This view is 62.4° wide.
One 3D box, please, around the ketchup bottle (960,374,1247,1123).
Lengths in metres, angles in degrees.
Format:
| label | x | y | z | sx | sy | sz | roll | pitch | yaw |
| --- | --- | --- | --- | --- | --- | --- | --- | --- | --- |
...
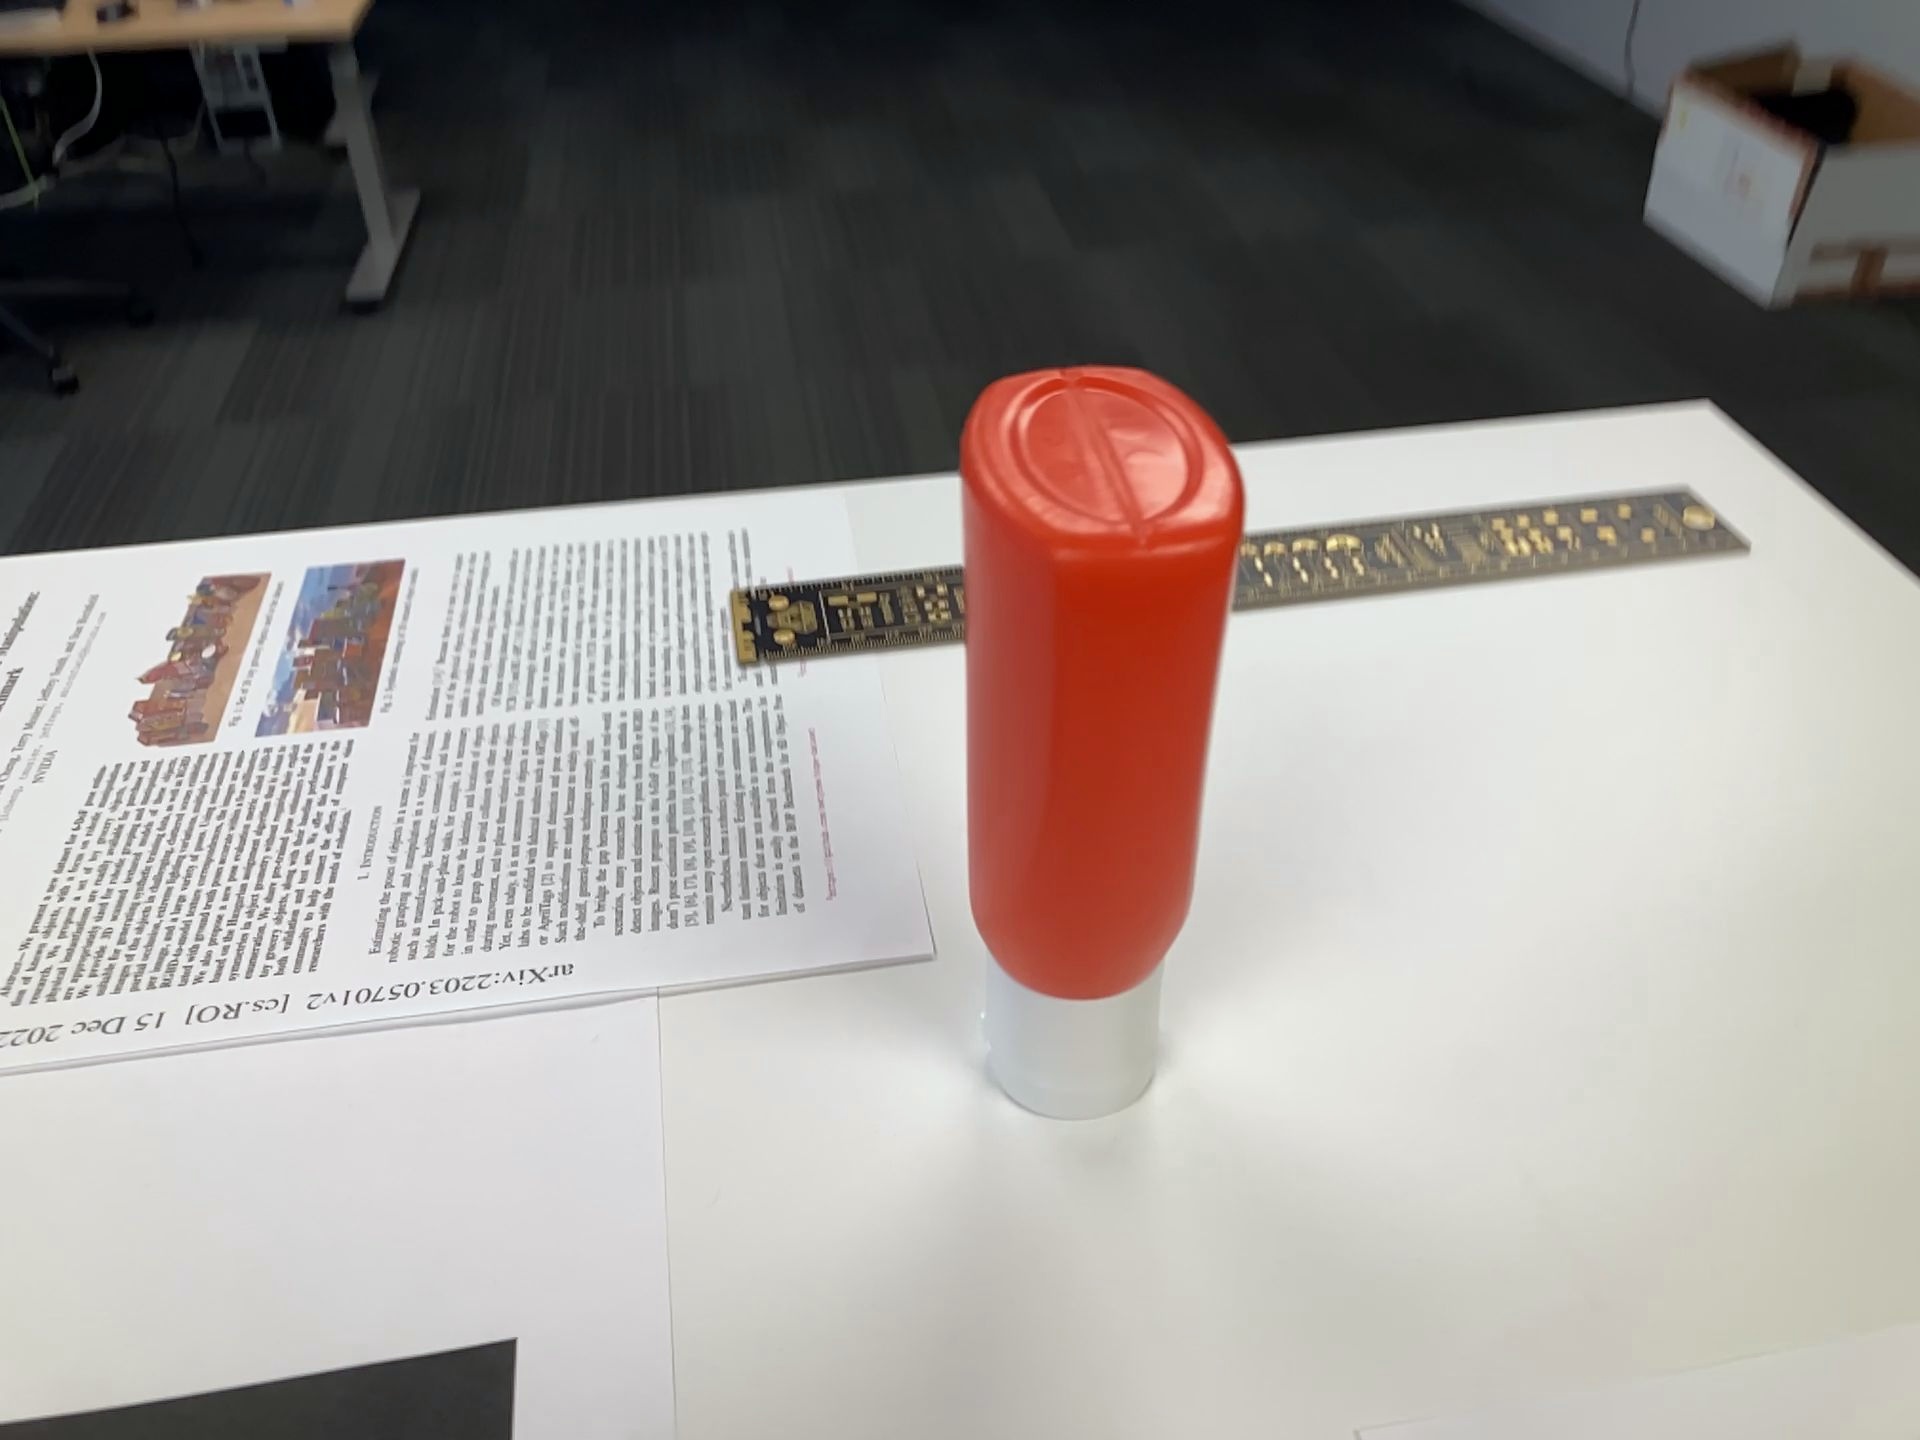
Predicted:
| label | x | y | z | sx | sy | sz | roll | pitch | yaw |
| --- | --- | --- | --- | --- | --- | --- | --- | --- | --- |
| ketchup bottle | 0.022 | 0.015 | 0.296 | 0.043 | 0.149 | 0.065 | -5 | 39 | -7 |
